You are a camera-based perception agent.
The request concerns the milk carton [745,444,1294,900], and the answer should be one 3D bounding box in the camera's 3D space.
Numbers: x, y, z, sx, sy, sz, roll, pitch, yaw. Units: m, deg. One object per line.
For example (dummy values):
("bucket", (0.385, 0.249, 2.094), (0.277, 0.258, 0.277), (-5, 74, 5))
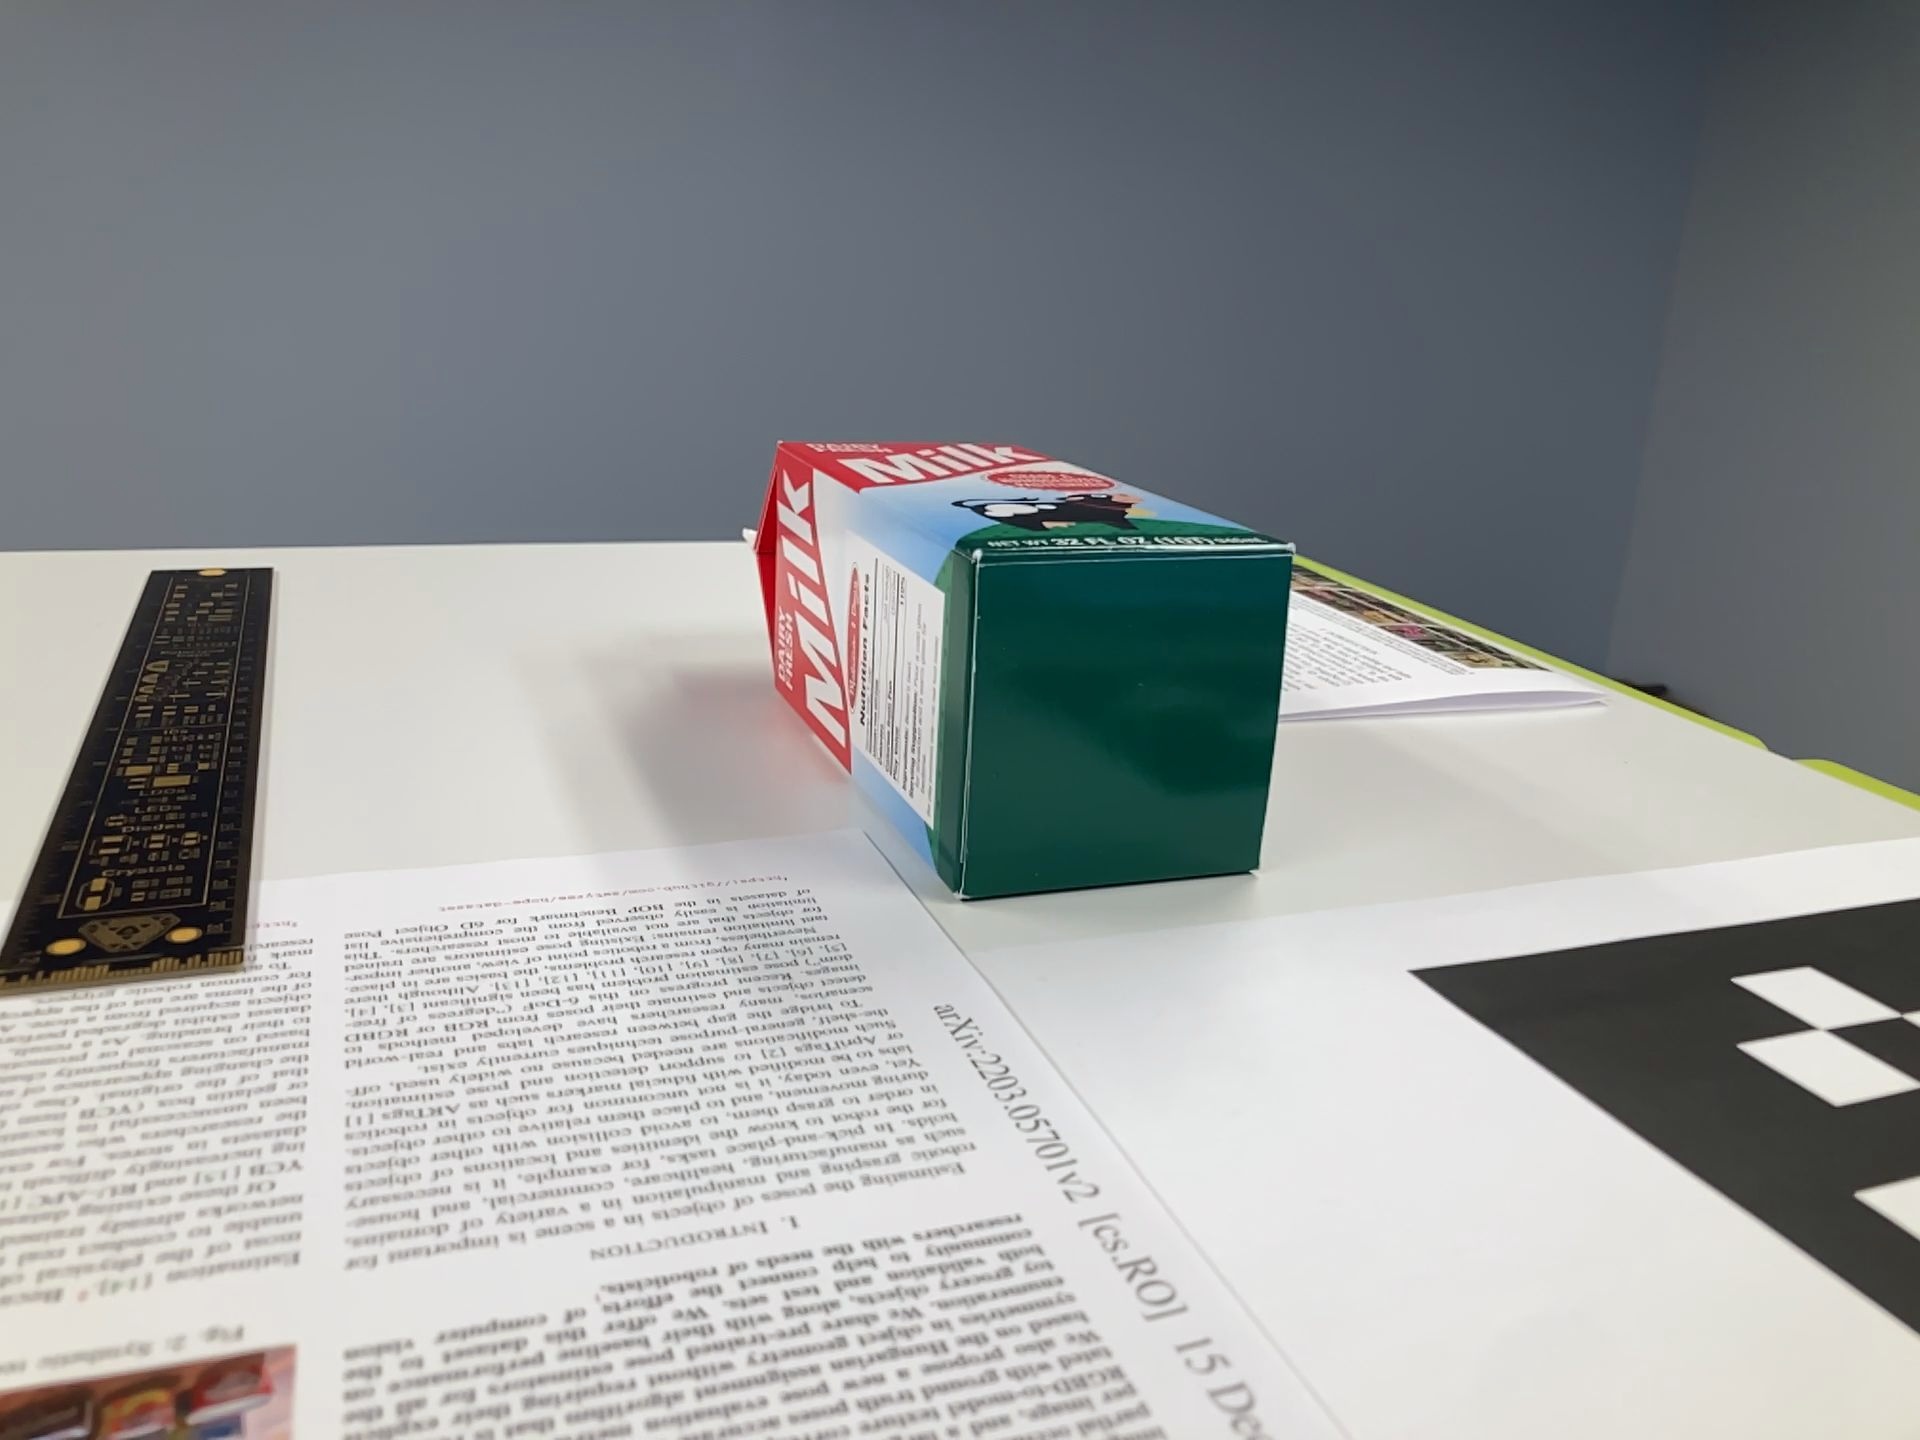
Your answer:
("milk carton", (0.001, -0.027, 0.399), (0.072, 0.073, 0.190), (-4, 18, -21))
